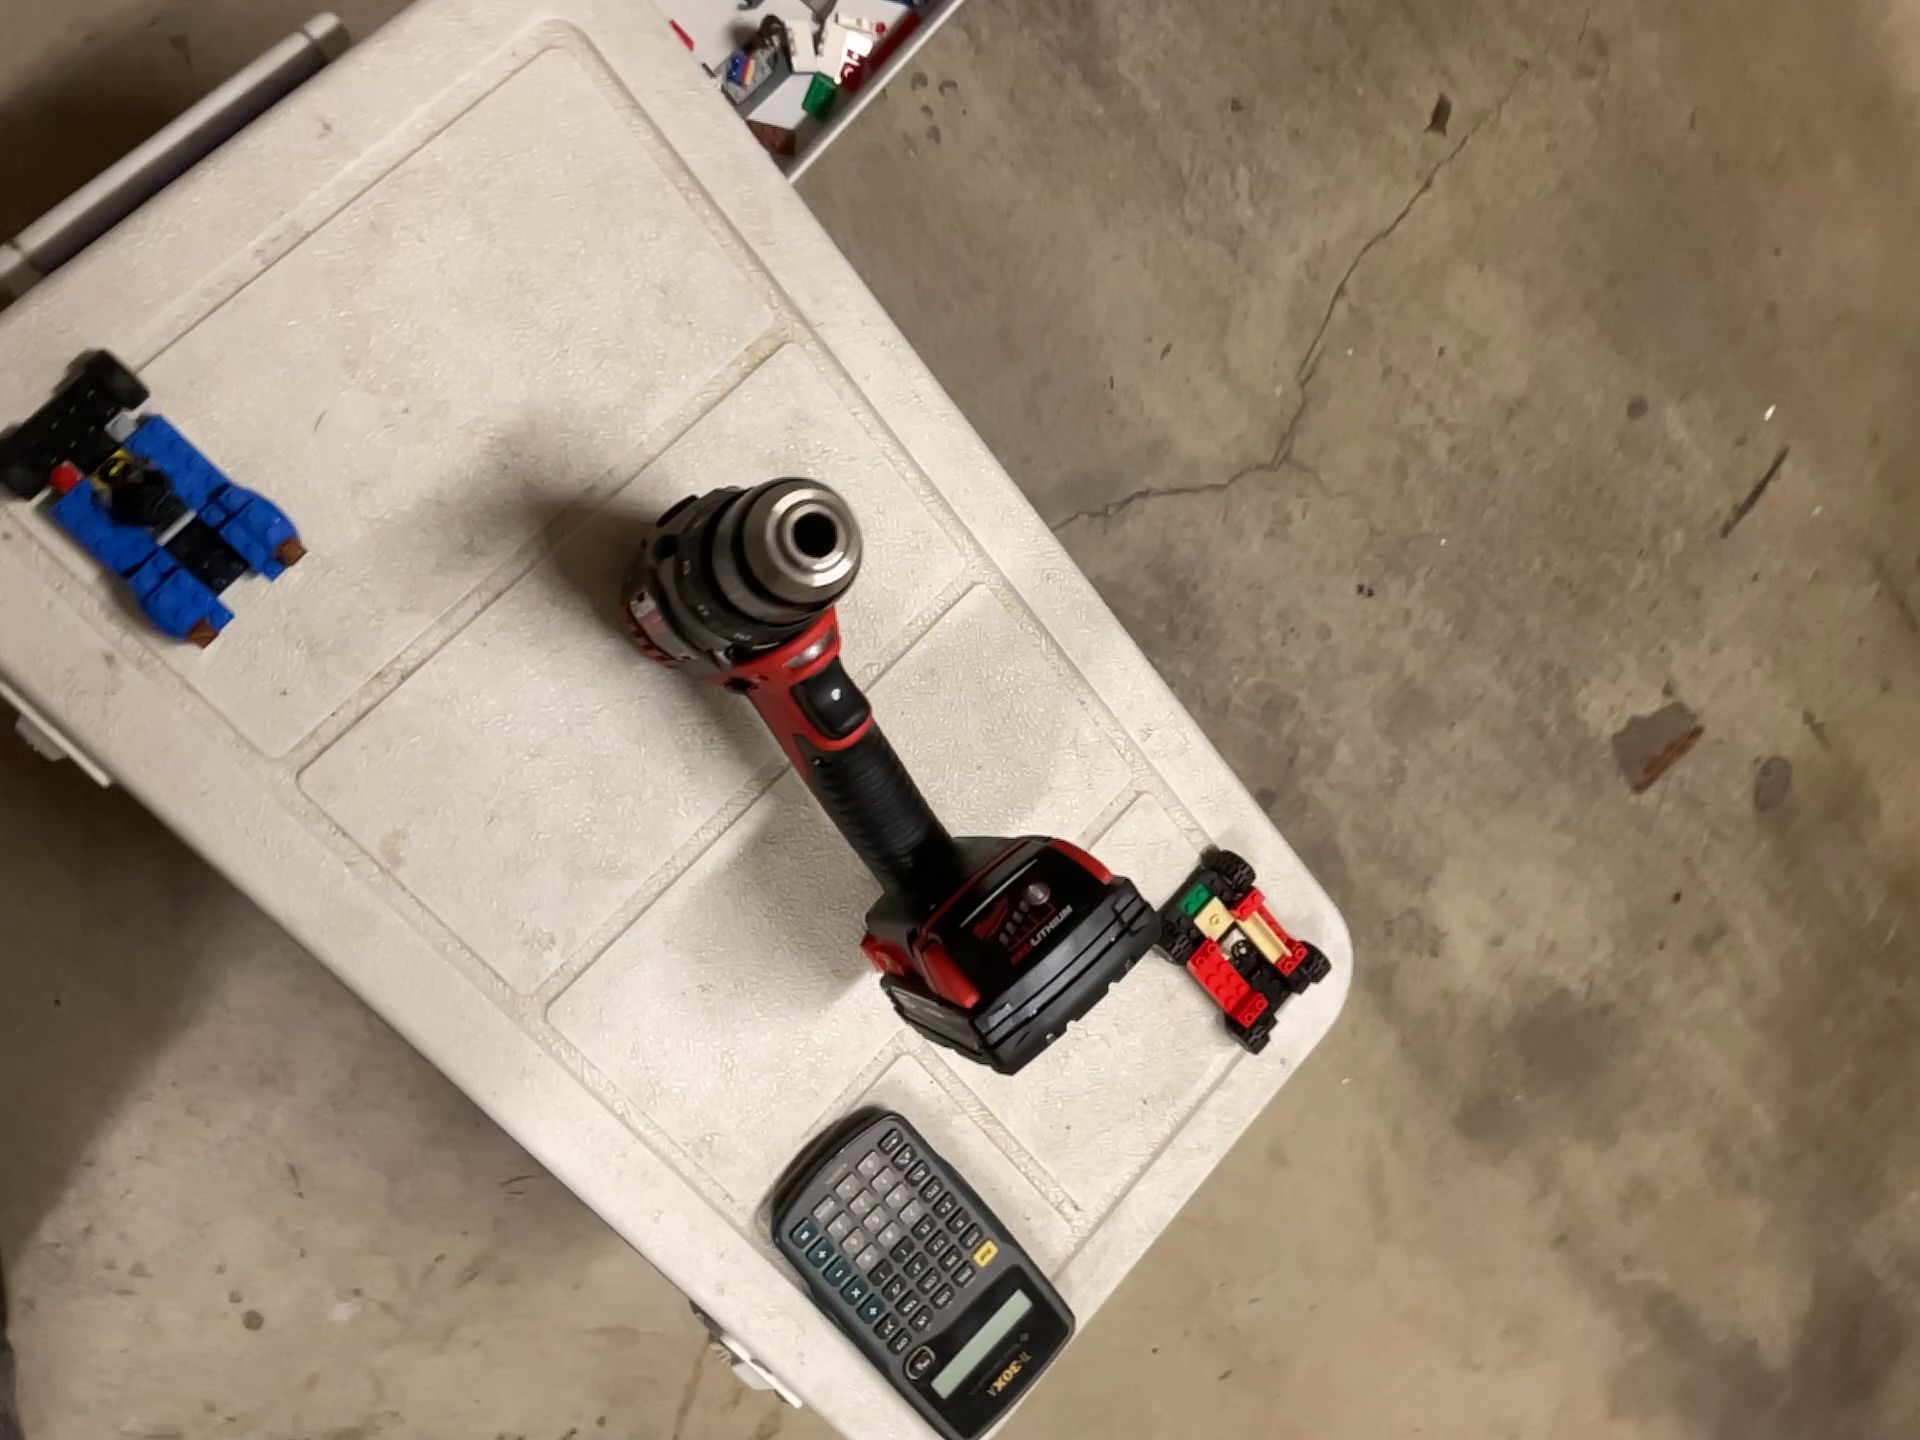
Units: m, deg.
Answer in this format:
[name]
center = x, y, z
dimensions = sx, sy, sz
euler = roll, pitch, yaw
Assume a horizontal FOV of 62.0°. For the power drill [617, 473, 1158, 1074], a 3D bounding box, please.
[power drill]
center = -0.029, 0.013, 0.566
dimensions = 0.080, 0.187, 0.226
euler = -40, 101, -18
